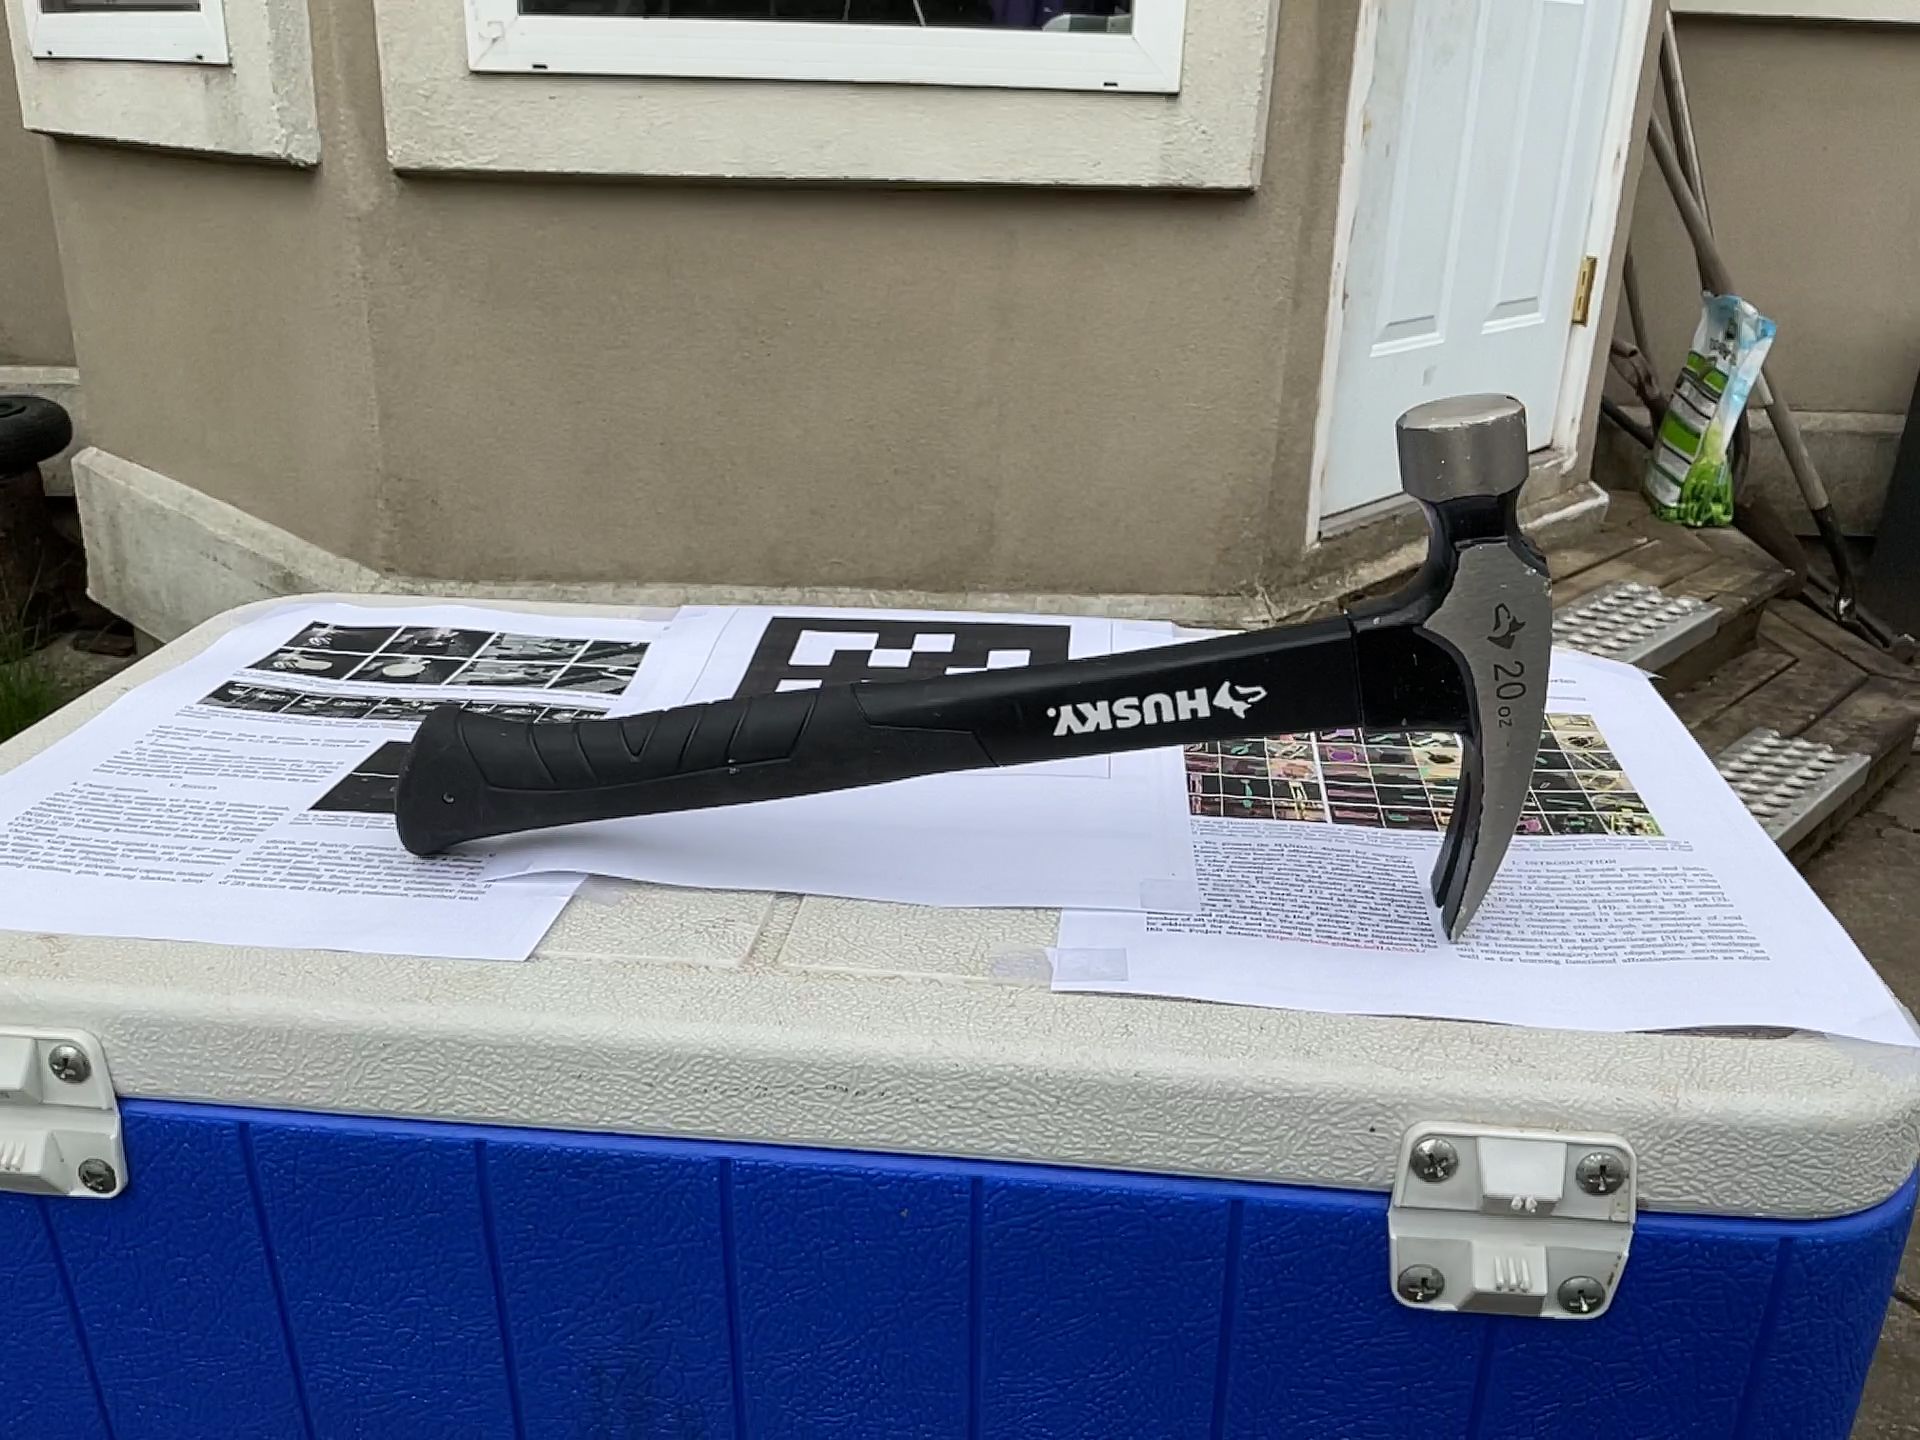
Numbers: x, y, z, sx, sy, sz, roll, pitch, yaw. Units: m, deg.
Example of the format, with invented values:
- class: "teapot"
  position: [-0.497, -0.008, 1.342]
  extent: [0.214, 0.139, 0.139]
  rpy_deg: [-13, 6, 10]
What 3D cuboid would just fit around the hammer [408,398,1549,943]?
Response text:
- class: "hammer"
  position: [-0.004, 0.007, 0.465]
  extent: [0.335, 0.146, 0.035]
  rpy_deg: [-8, 19, 10]
